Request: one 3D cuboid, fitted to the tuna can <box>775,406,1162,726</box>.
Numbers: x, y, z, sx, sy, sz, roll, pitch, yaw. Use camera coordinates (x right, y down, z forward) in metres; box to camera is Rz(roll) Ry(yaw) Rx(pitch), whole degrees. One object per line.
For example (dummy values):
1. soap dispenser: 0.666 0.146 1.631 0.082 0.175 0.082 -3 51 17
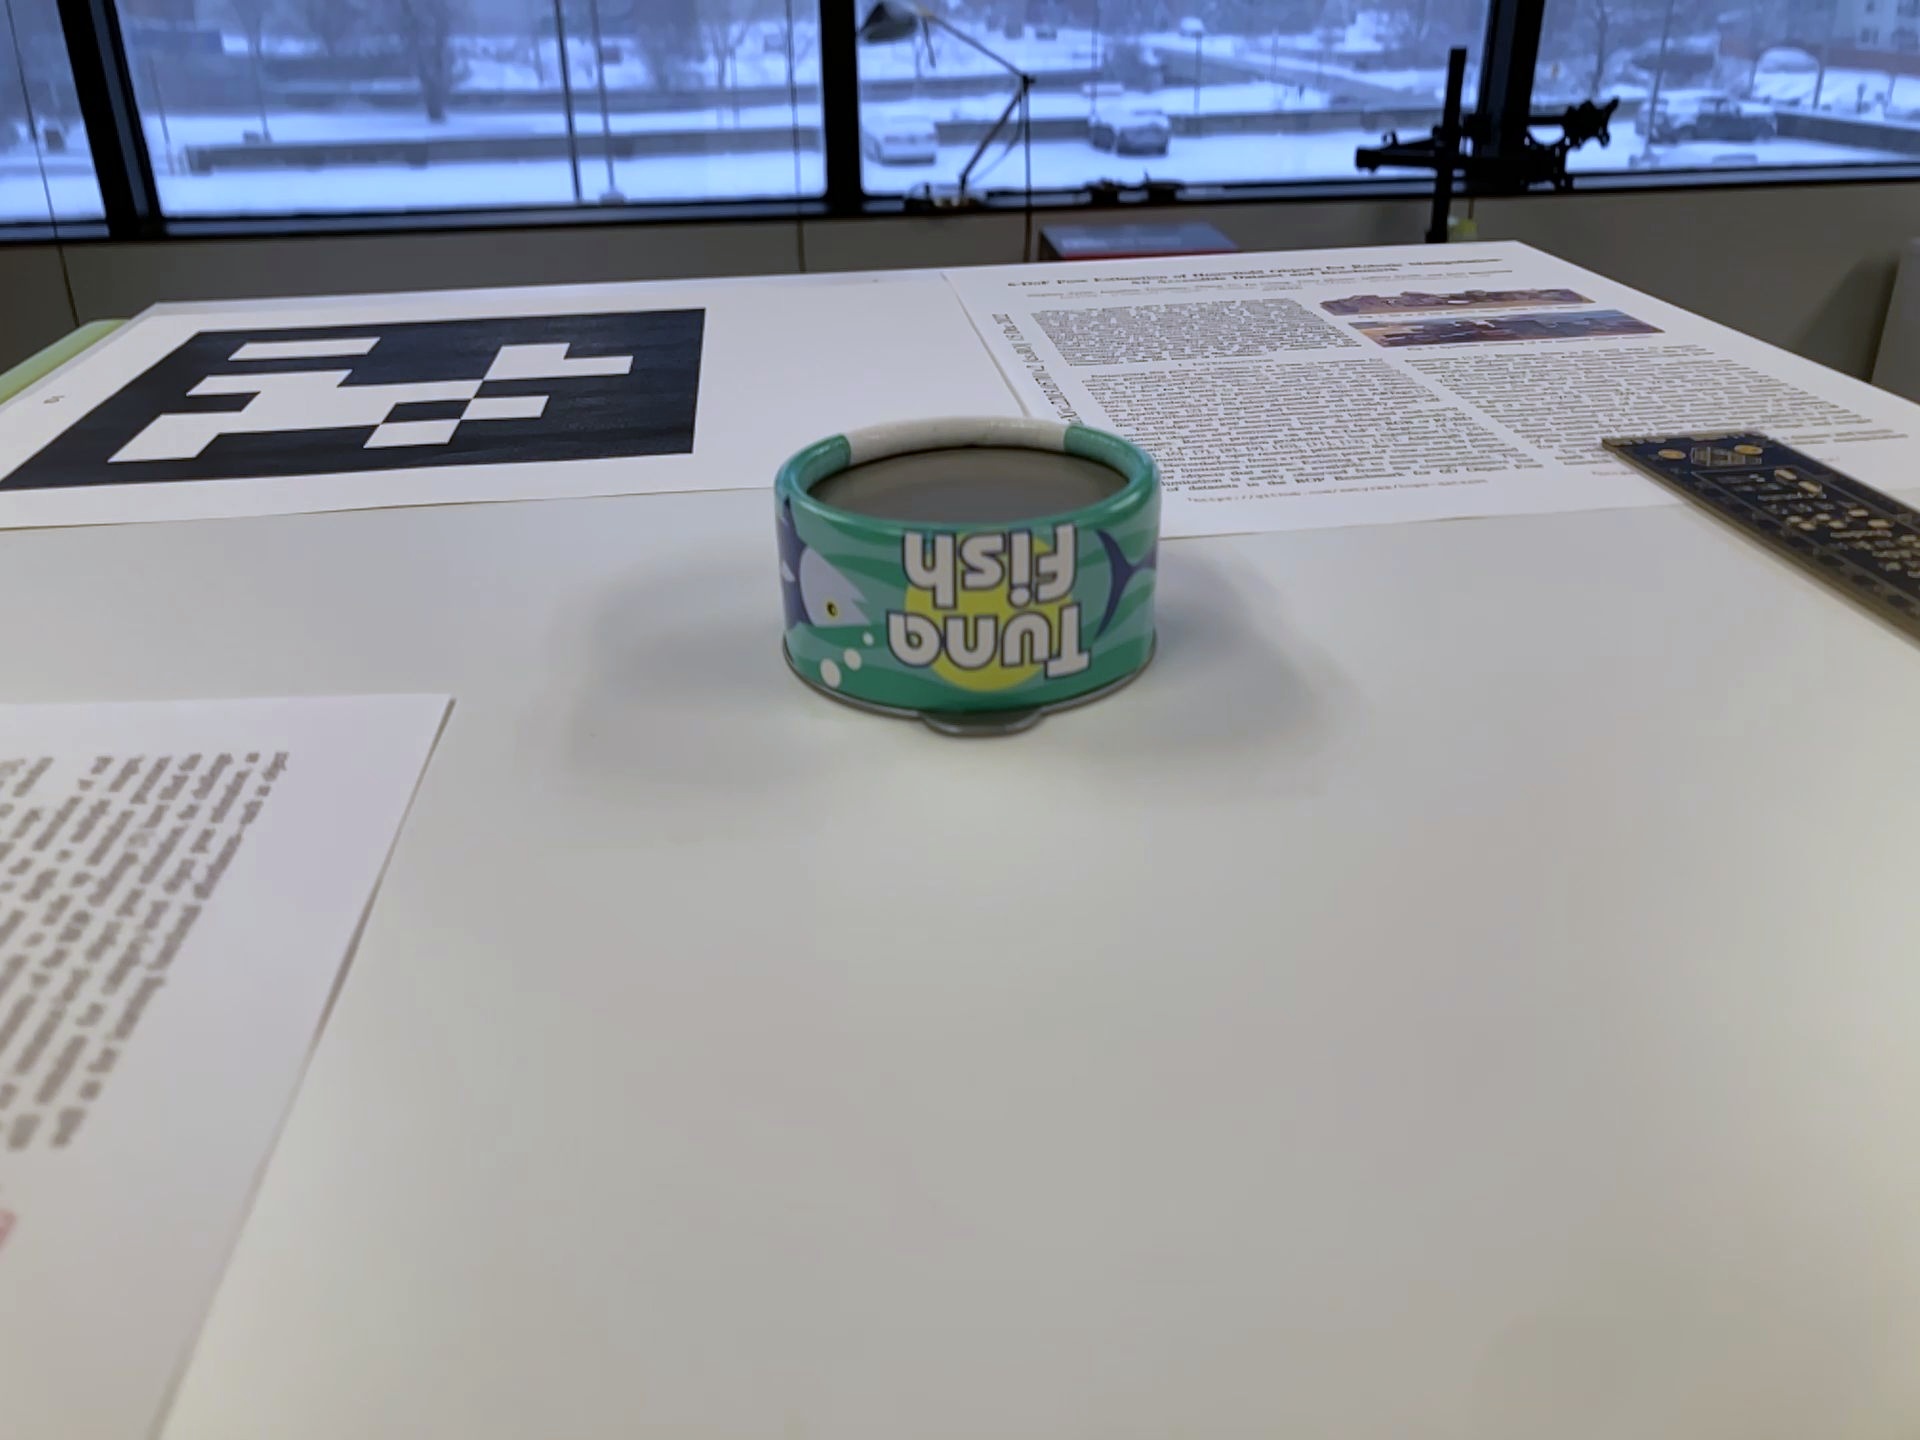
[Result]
1. tuna can: 0.002 -0.029 0.271 0.071 0.033 0.071 -2 27 1
